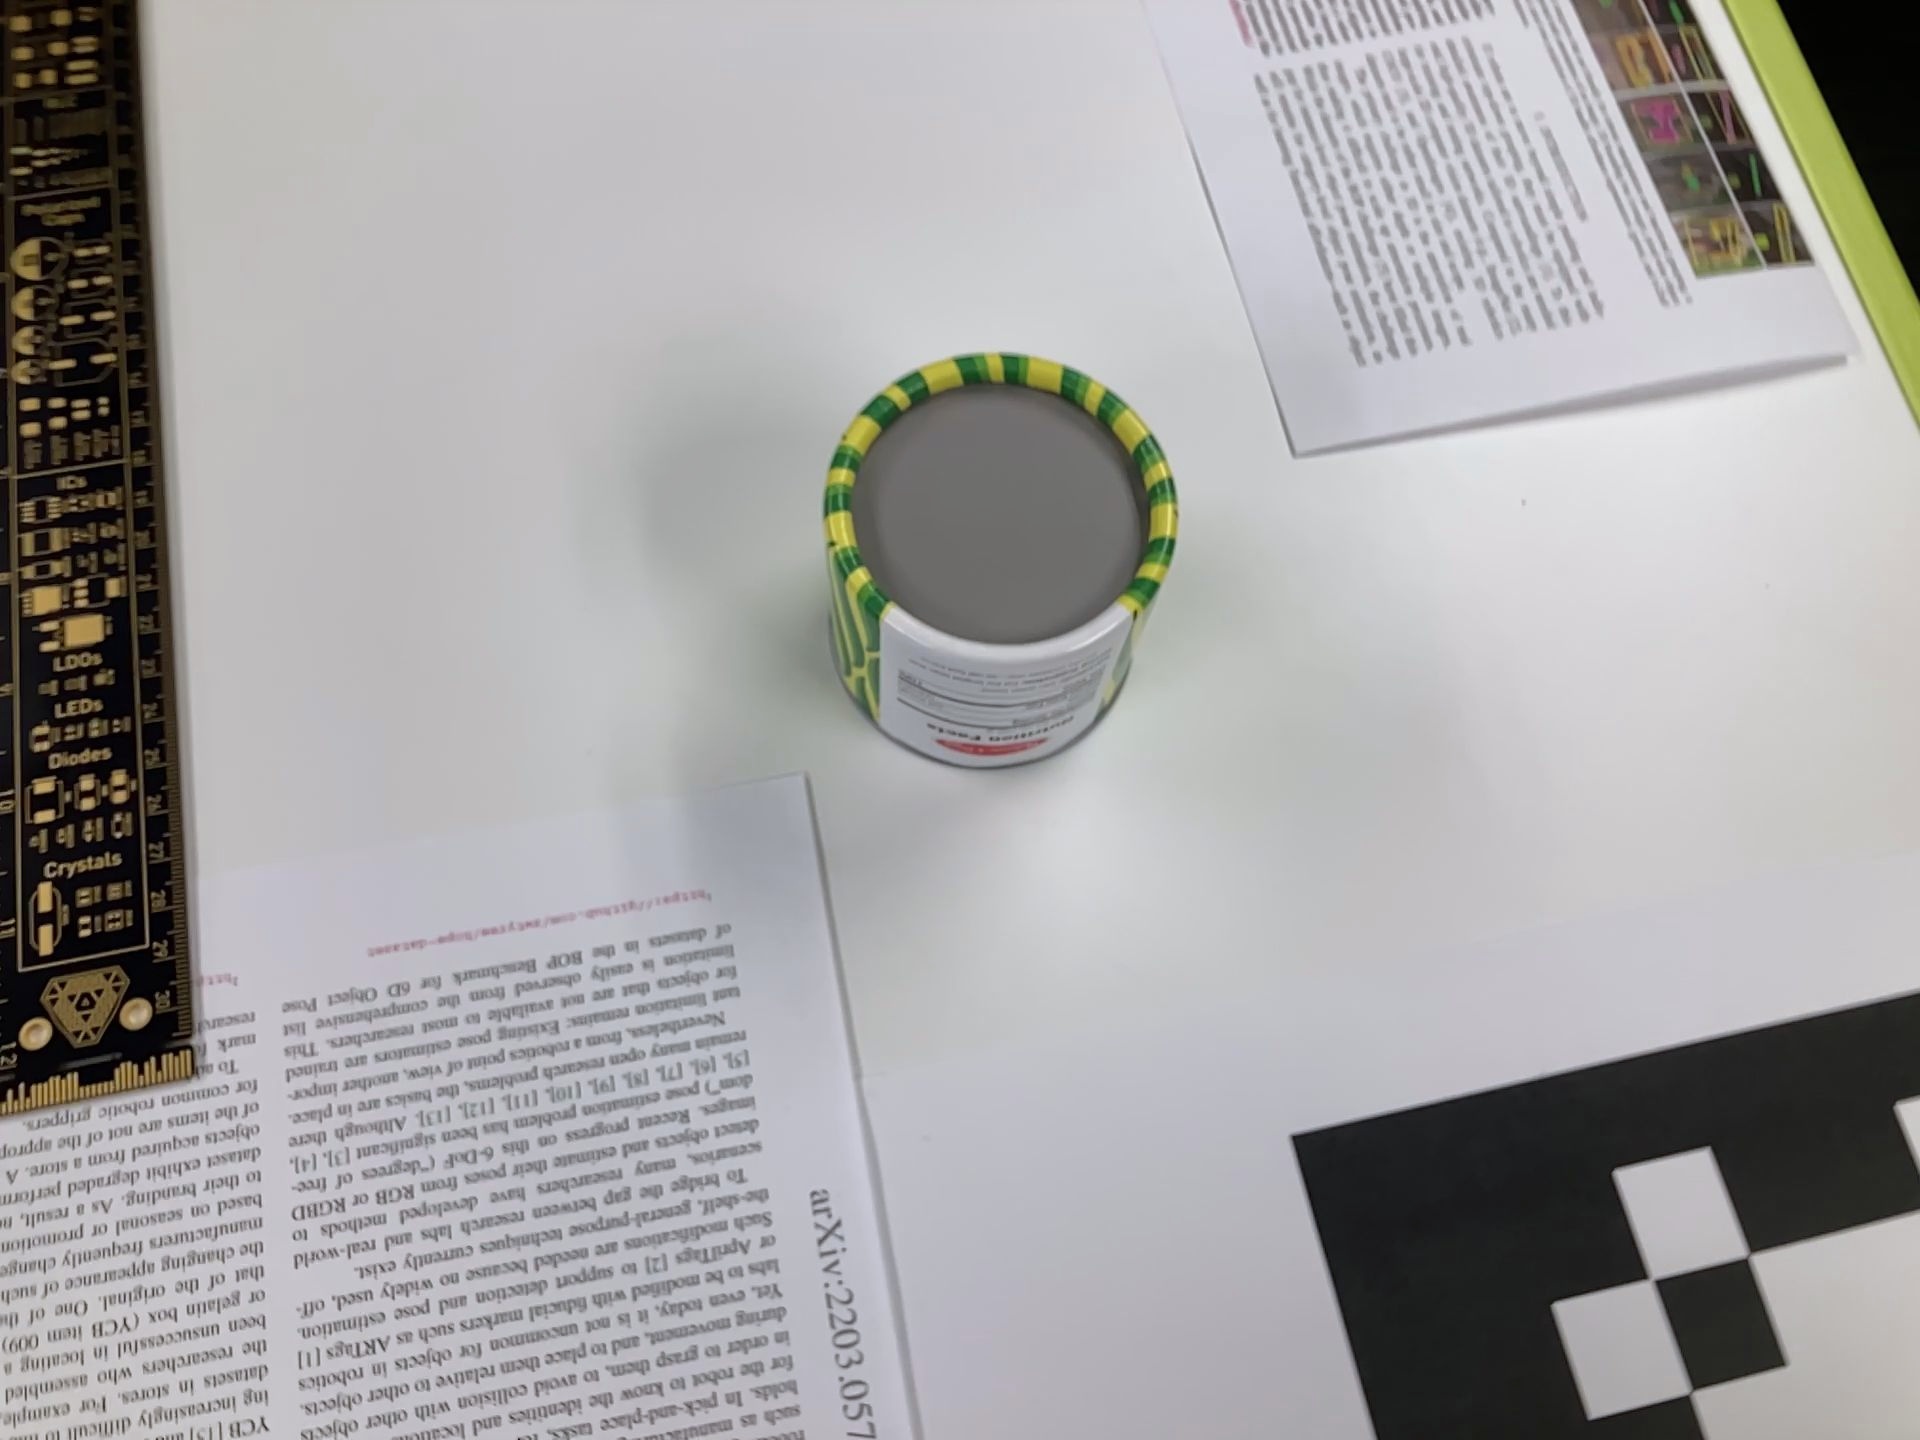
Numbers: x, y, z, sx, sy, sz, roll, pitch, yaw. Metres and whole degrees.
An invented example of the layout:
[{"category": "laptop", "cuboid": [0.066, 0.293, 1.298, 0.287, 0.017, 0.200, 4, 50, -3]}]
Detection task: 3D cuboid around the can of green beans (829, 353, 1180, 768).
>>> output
[{"category": "can of green beans", "cuboid": [0.007, -0.031, 0.322, 0.071, 0.058, 0.071, 1, 69, -2]}]
